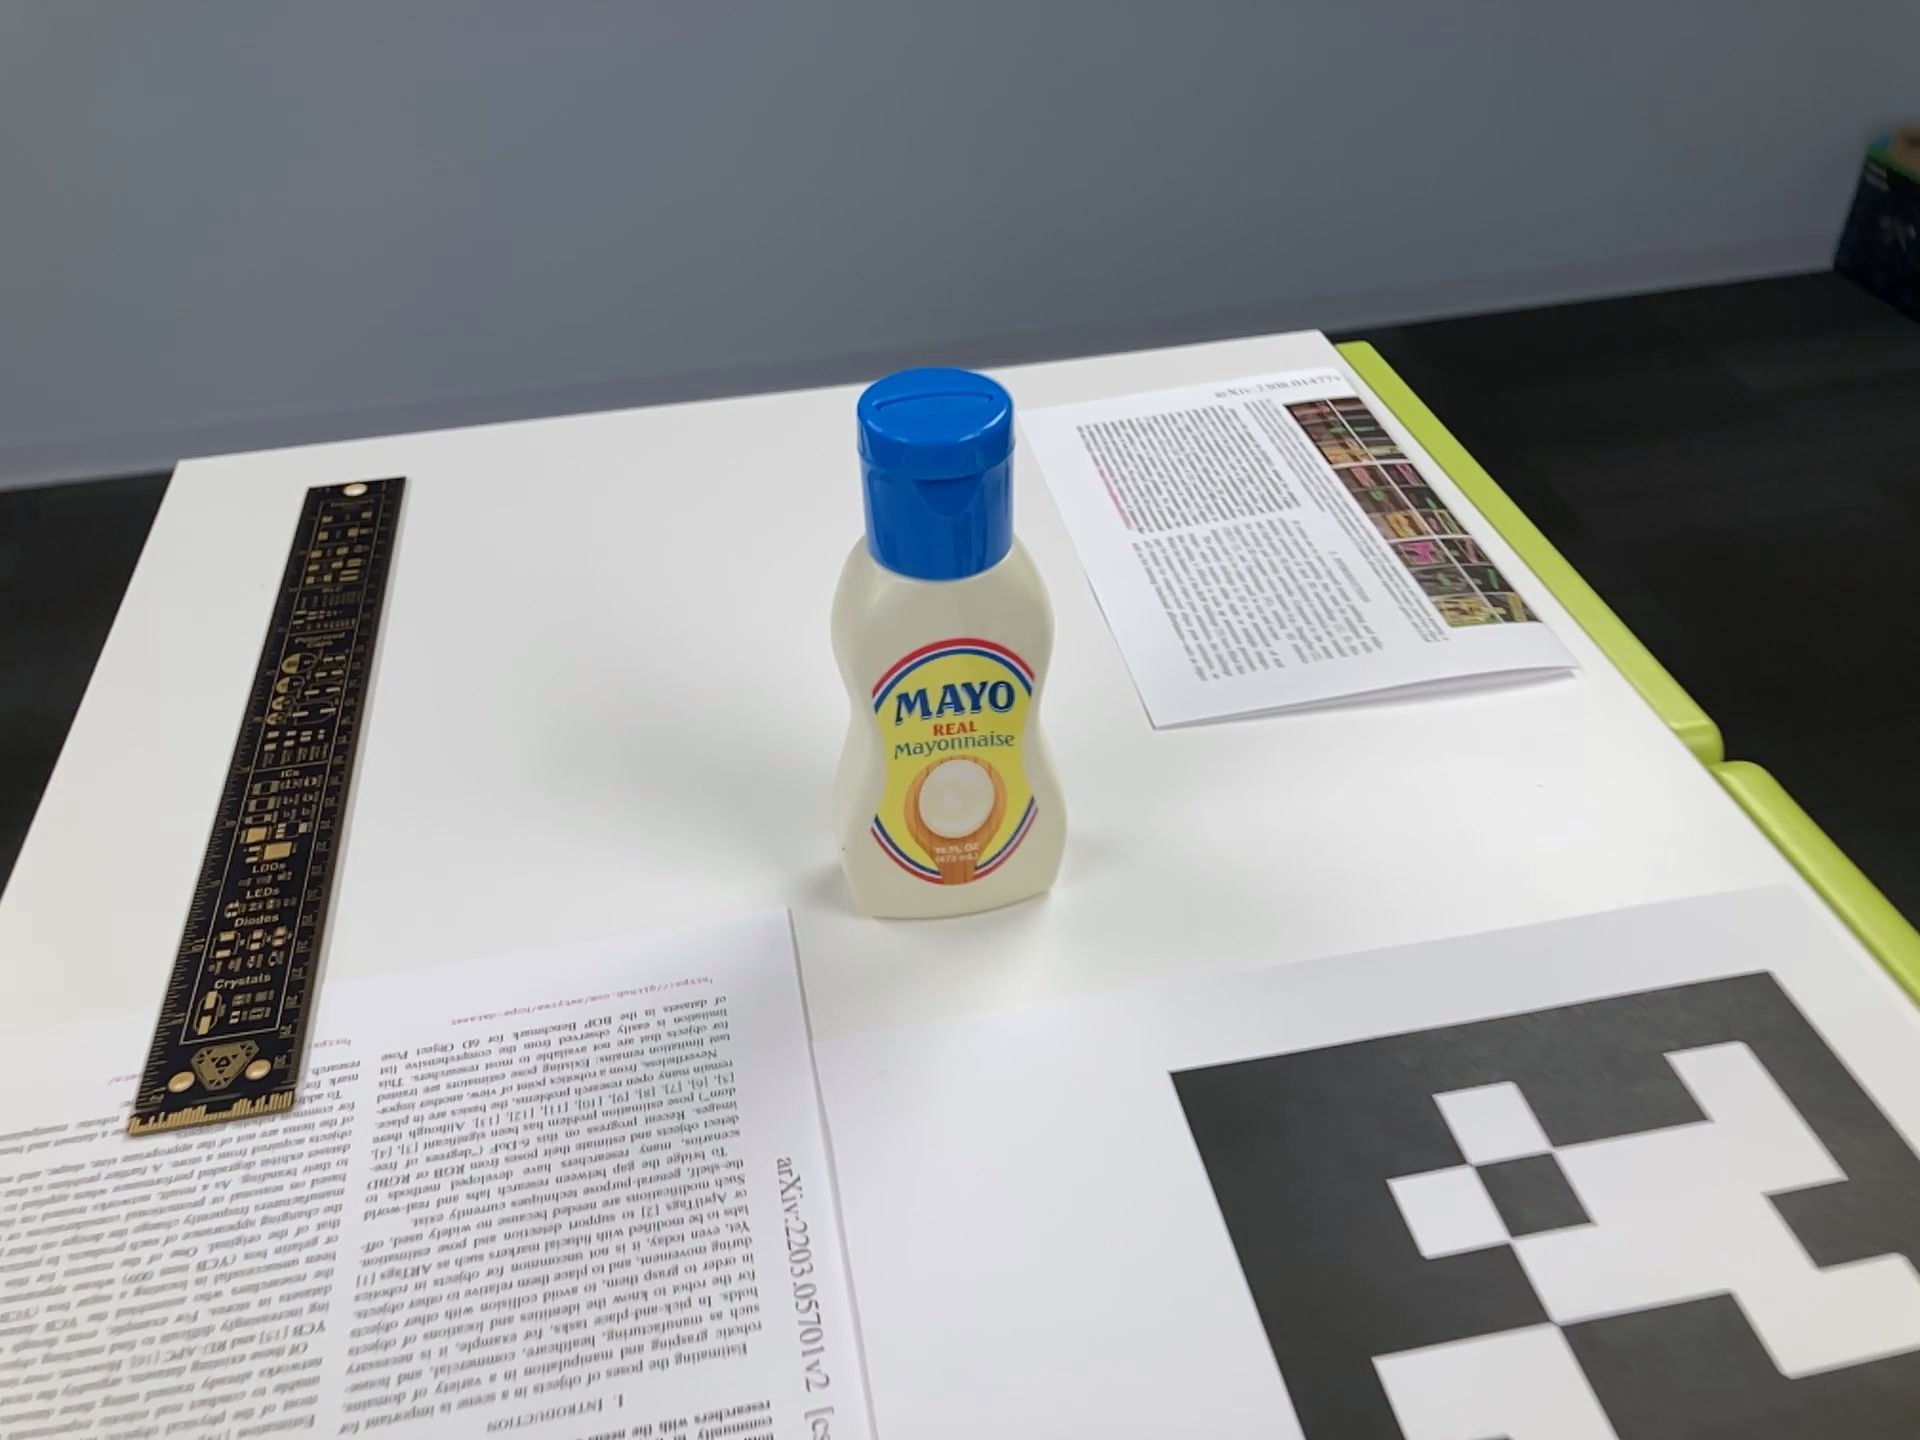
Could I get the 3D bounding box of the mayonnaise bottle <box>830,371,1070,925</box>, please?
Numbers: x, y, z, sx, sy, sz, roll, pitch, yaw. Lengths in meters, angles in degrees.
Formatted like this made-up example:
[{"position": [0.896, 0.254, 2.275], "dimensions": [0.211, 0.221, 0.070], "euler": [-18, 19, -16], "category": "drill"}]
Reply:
[{"position": [-0.004, -0.013, 0.402], "dimensions": [0.065, 0.148, 0.041], "euler": [-8, 39, -7], "category": "mayonnaise bottle"}]
